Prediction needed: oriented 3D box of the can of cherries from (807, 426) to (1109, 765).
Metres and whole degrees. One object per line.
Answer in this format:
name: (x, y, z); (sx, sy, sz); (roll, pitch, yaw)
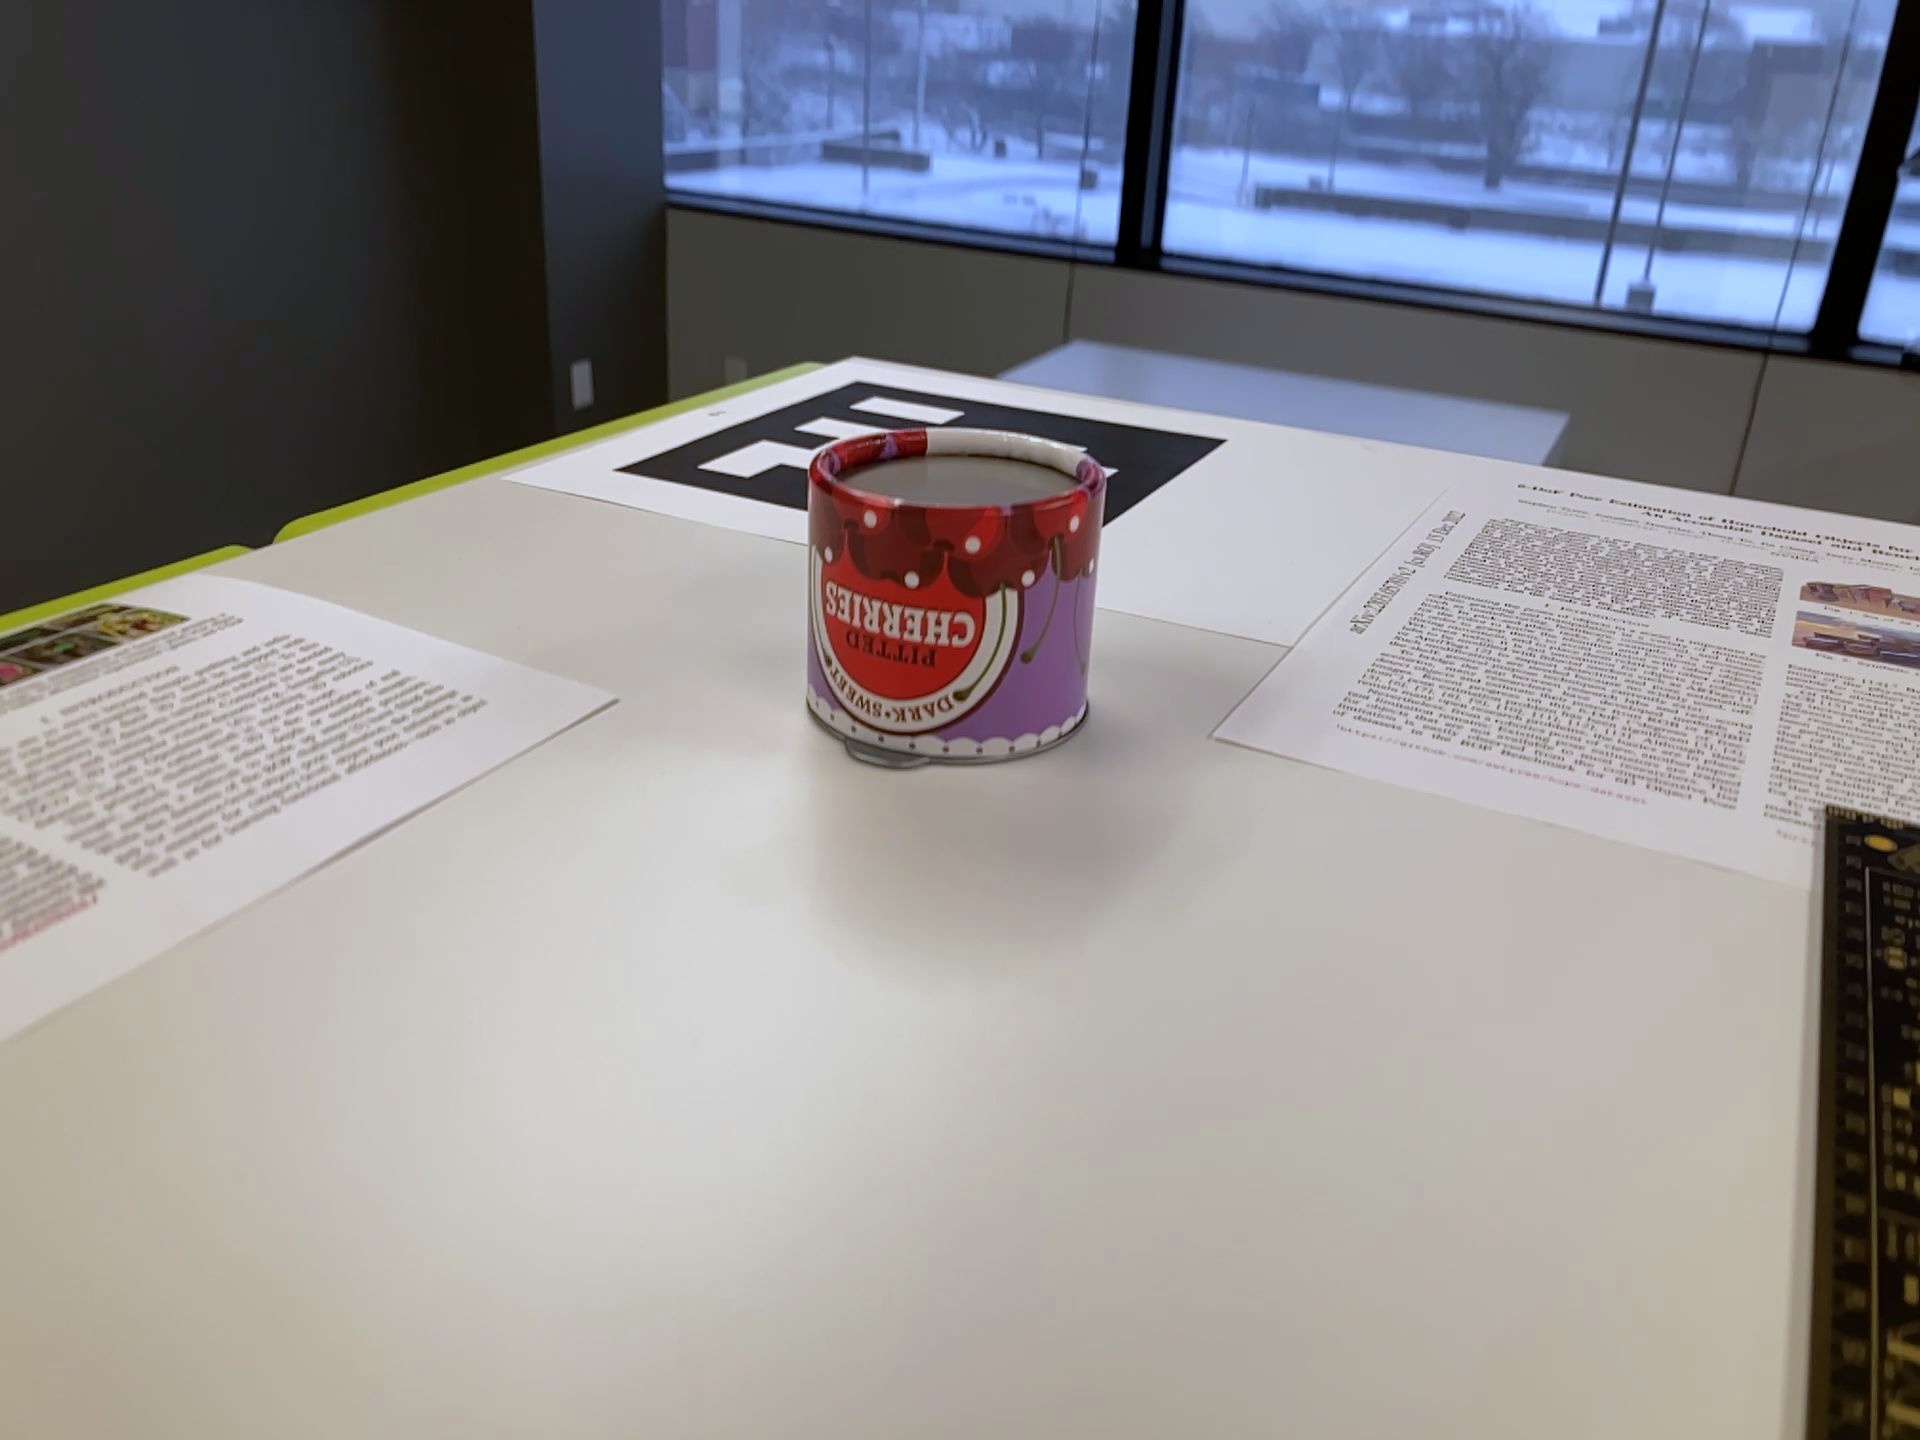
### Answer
can of cherries: (-0.002, -0.029, 0.353); (0.071, 0.058, 0.071); (2, 25, -1)
